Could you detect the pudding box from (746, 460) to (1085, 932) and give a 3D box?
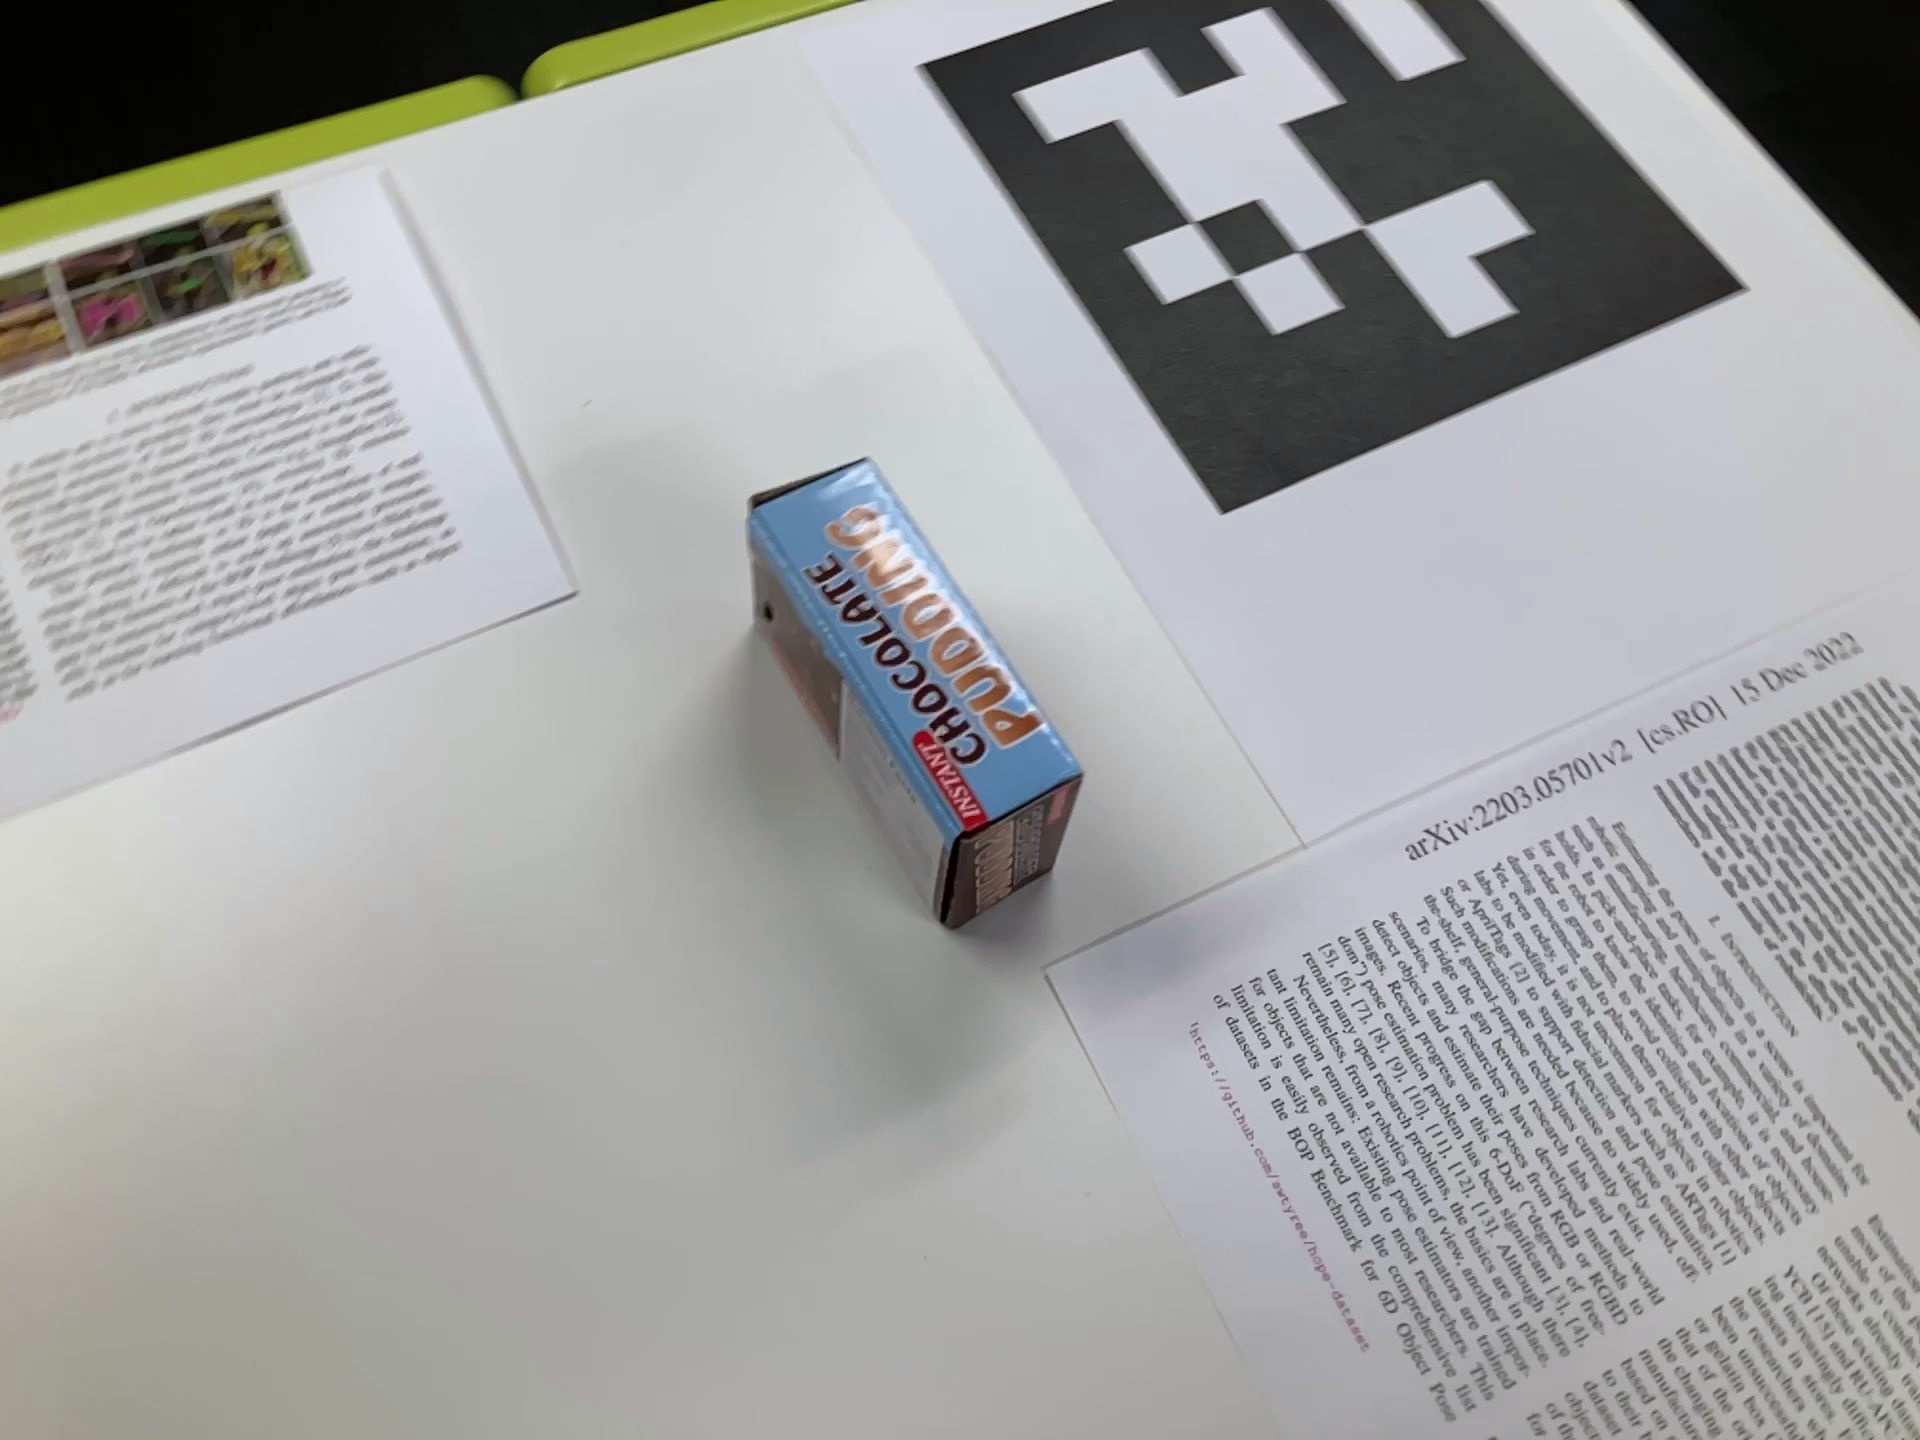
[{"bbox_3d":[-0.012,-0.005,0.321,0.030,0.049,0.083,-27,68,-17],"label":"pudding box"}]
